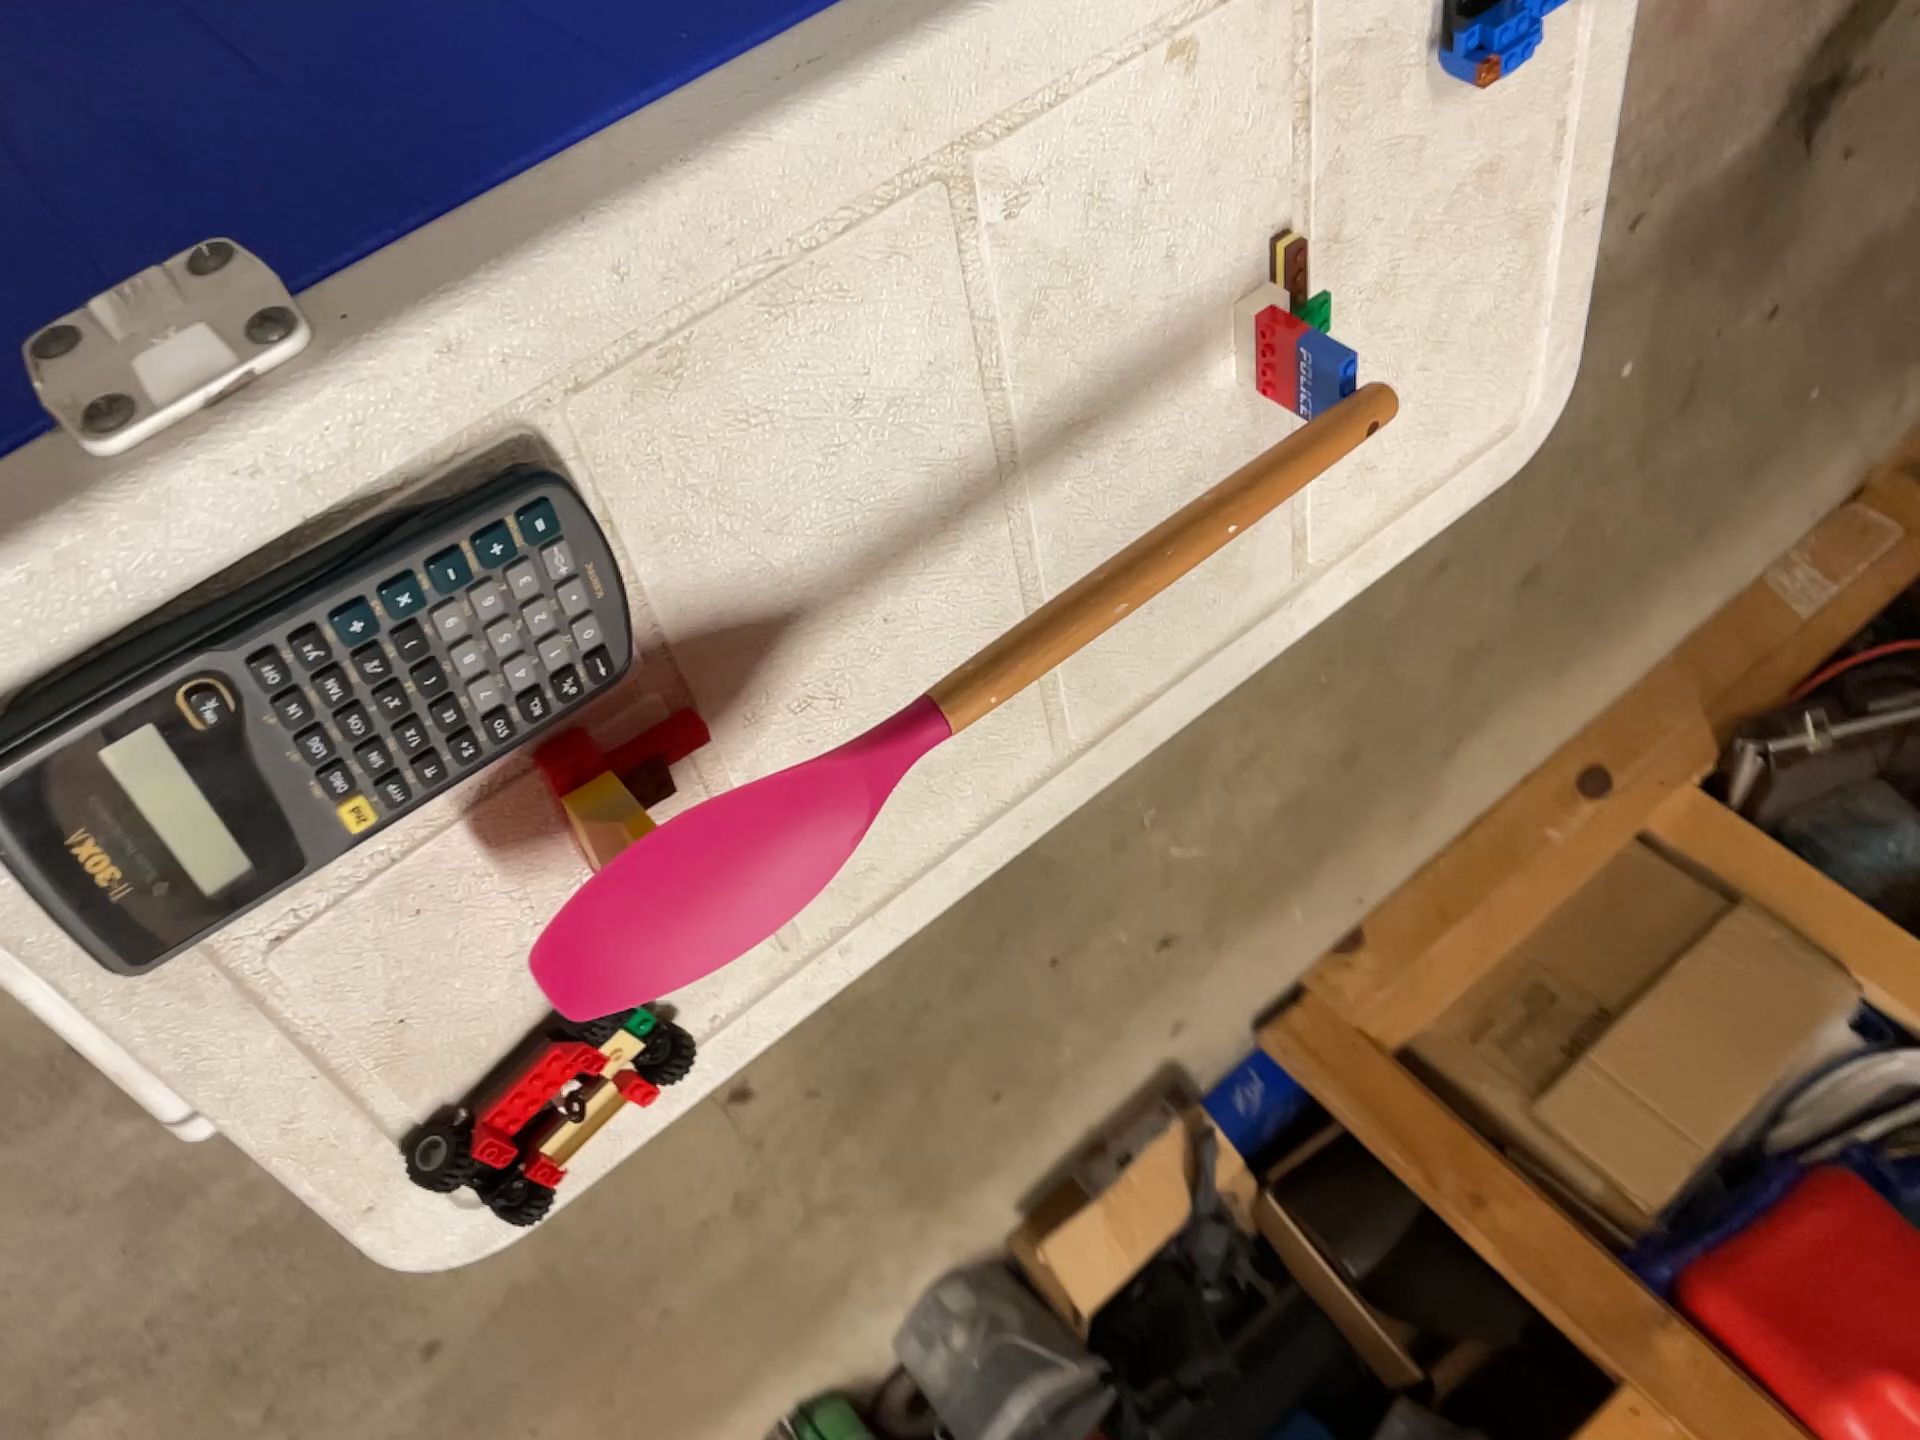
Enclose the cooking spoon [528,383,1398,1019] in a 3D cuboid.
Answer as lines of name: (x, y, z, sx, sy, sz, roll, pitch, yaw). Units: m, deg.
cooking spoon: (0.013, -0.016, 0.473, 0.319, 0.017, 0.068, -35, 143, -16)
